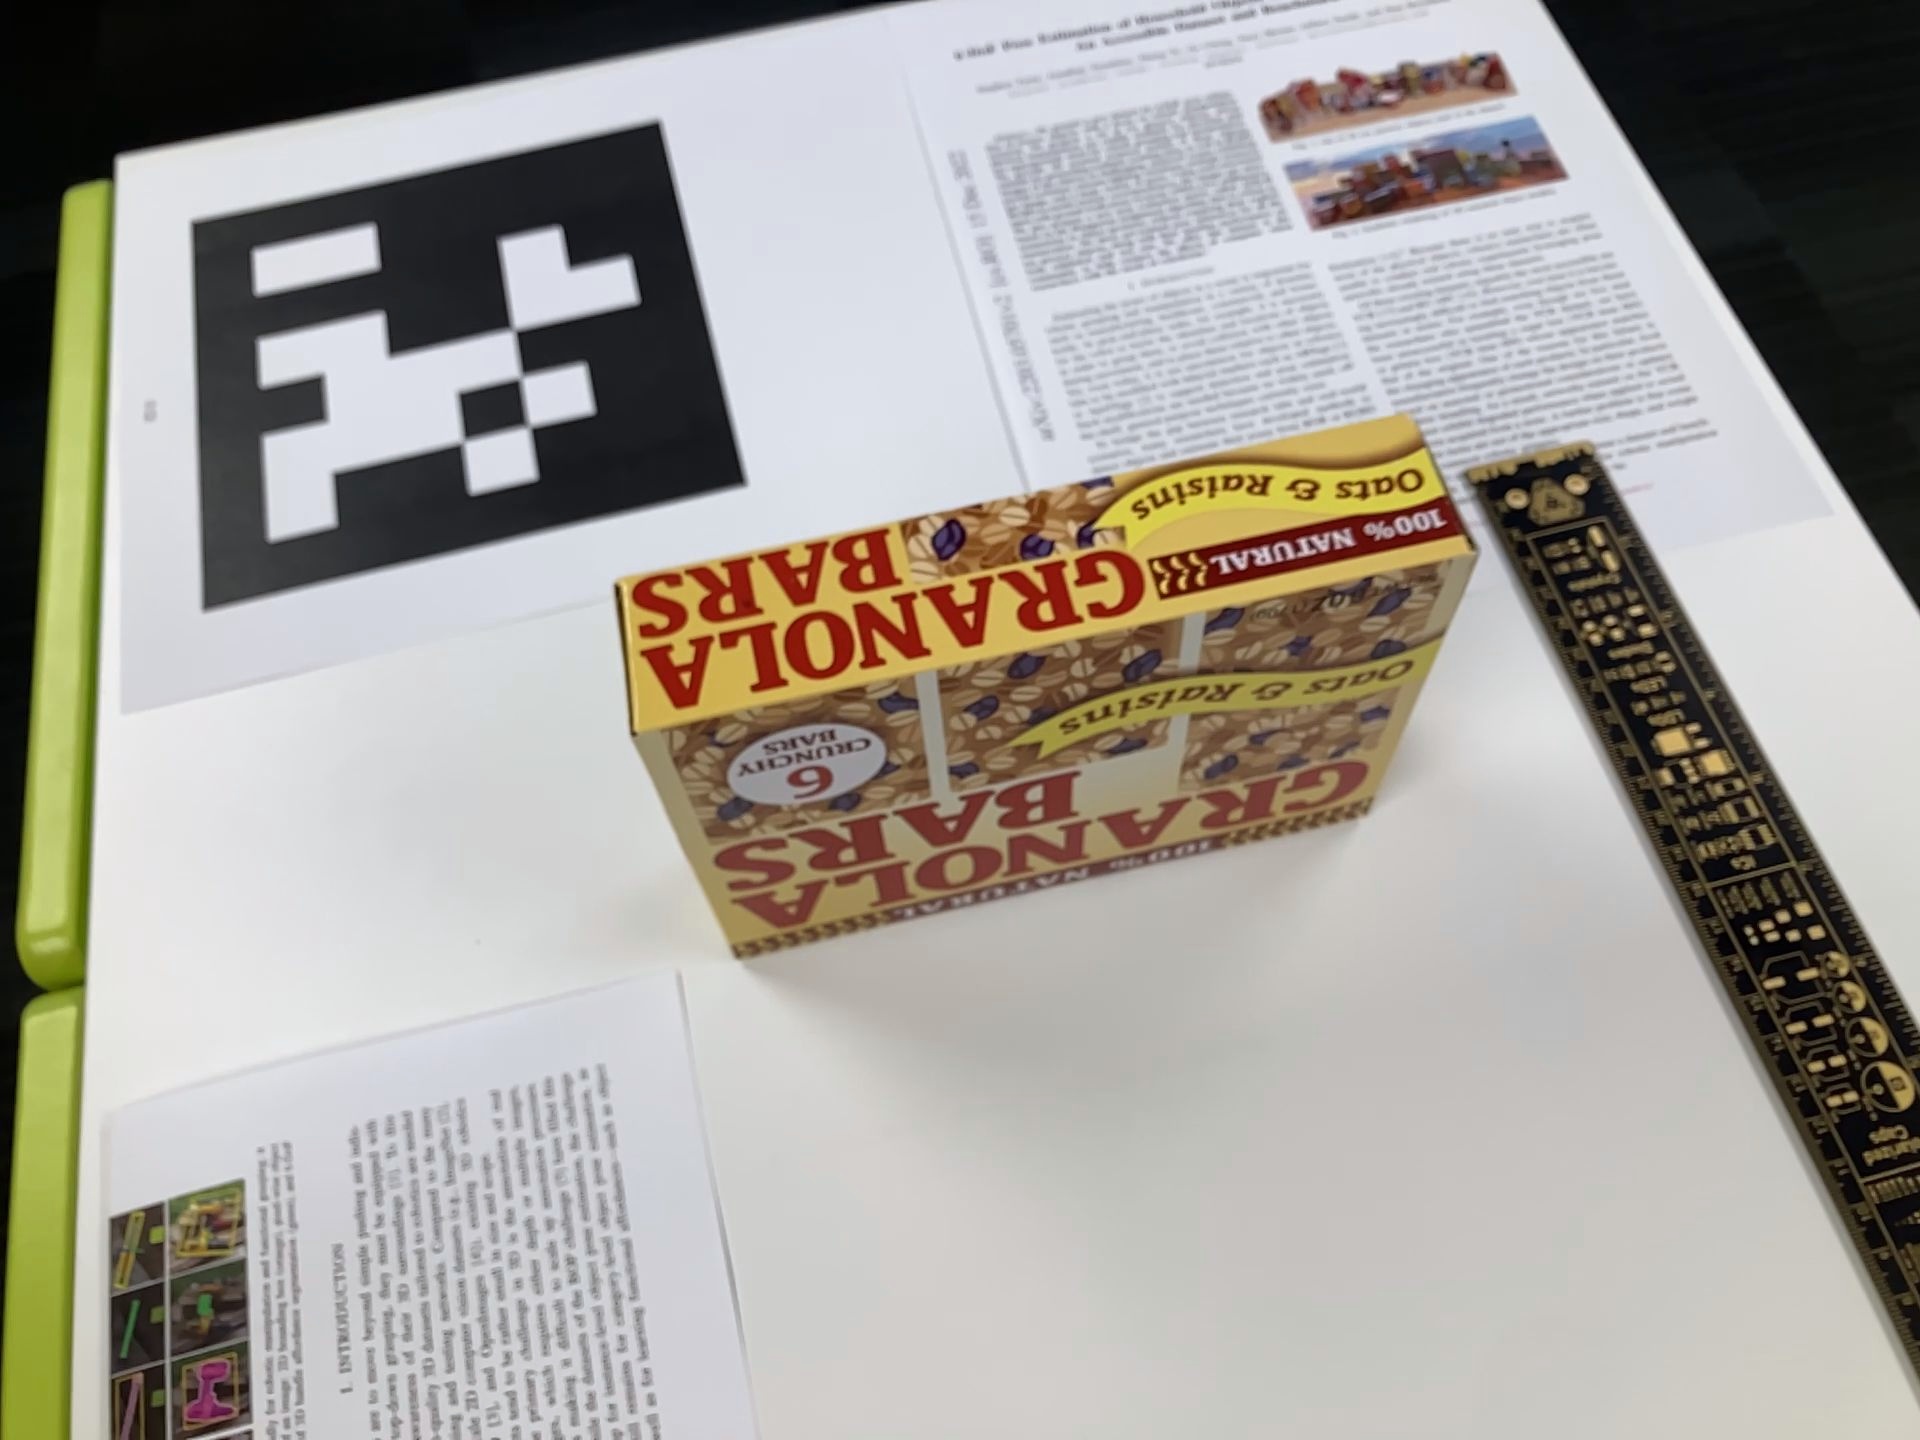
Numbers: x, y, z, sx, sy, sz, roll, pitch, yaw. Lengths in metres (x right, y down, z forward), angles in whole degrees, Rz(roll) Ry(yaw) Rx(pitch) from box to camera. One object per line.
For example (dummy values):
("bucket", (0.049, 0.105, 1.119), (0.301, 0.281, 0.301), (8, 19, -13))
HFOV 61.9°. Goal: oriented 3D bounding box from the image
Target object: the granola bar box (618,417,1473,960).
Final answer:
("granola bar box", (0.018, -0.001, 0.366), (0.165, 0.124, 0.039), (-12, 61, -4))
